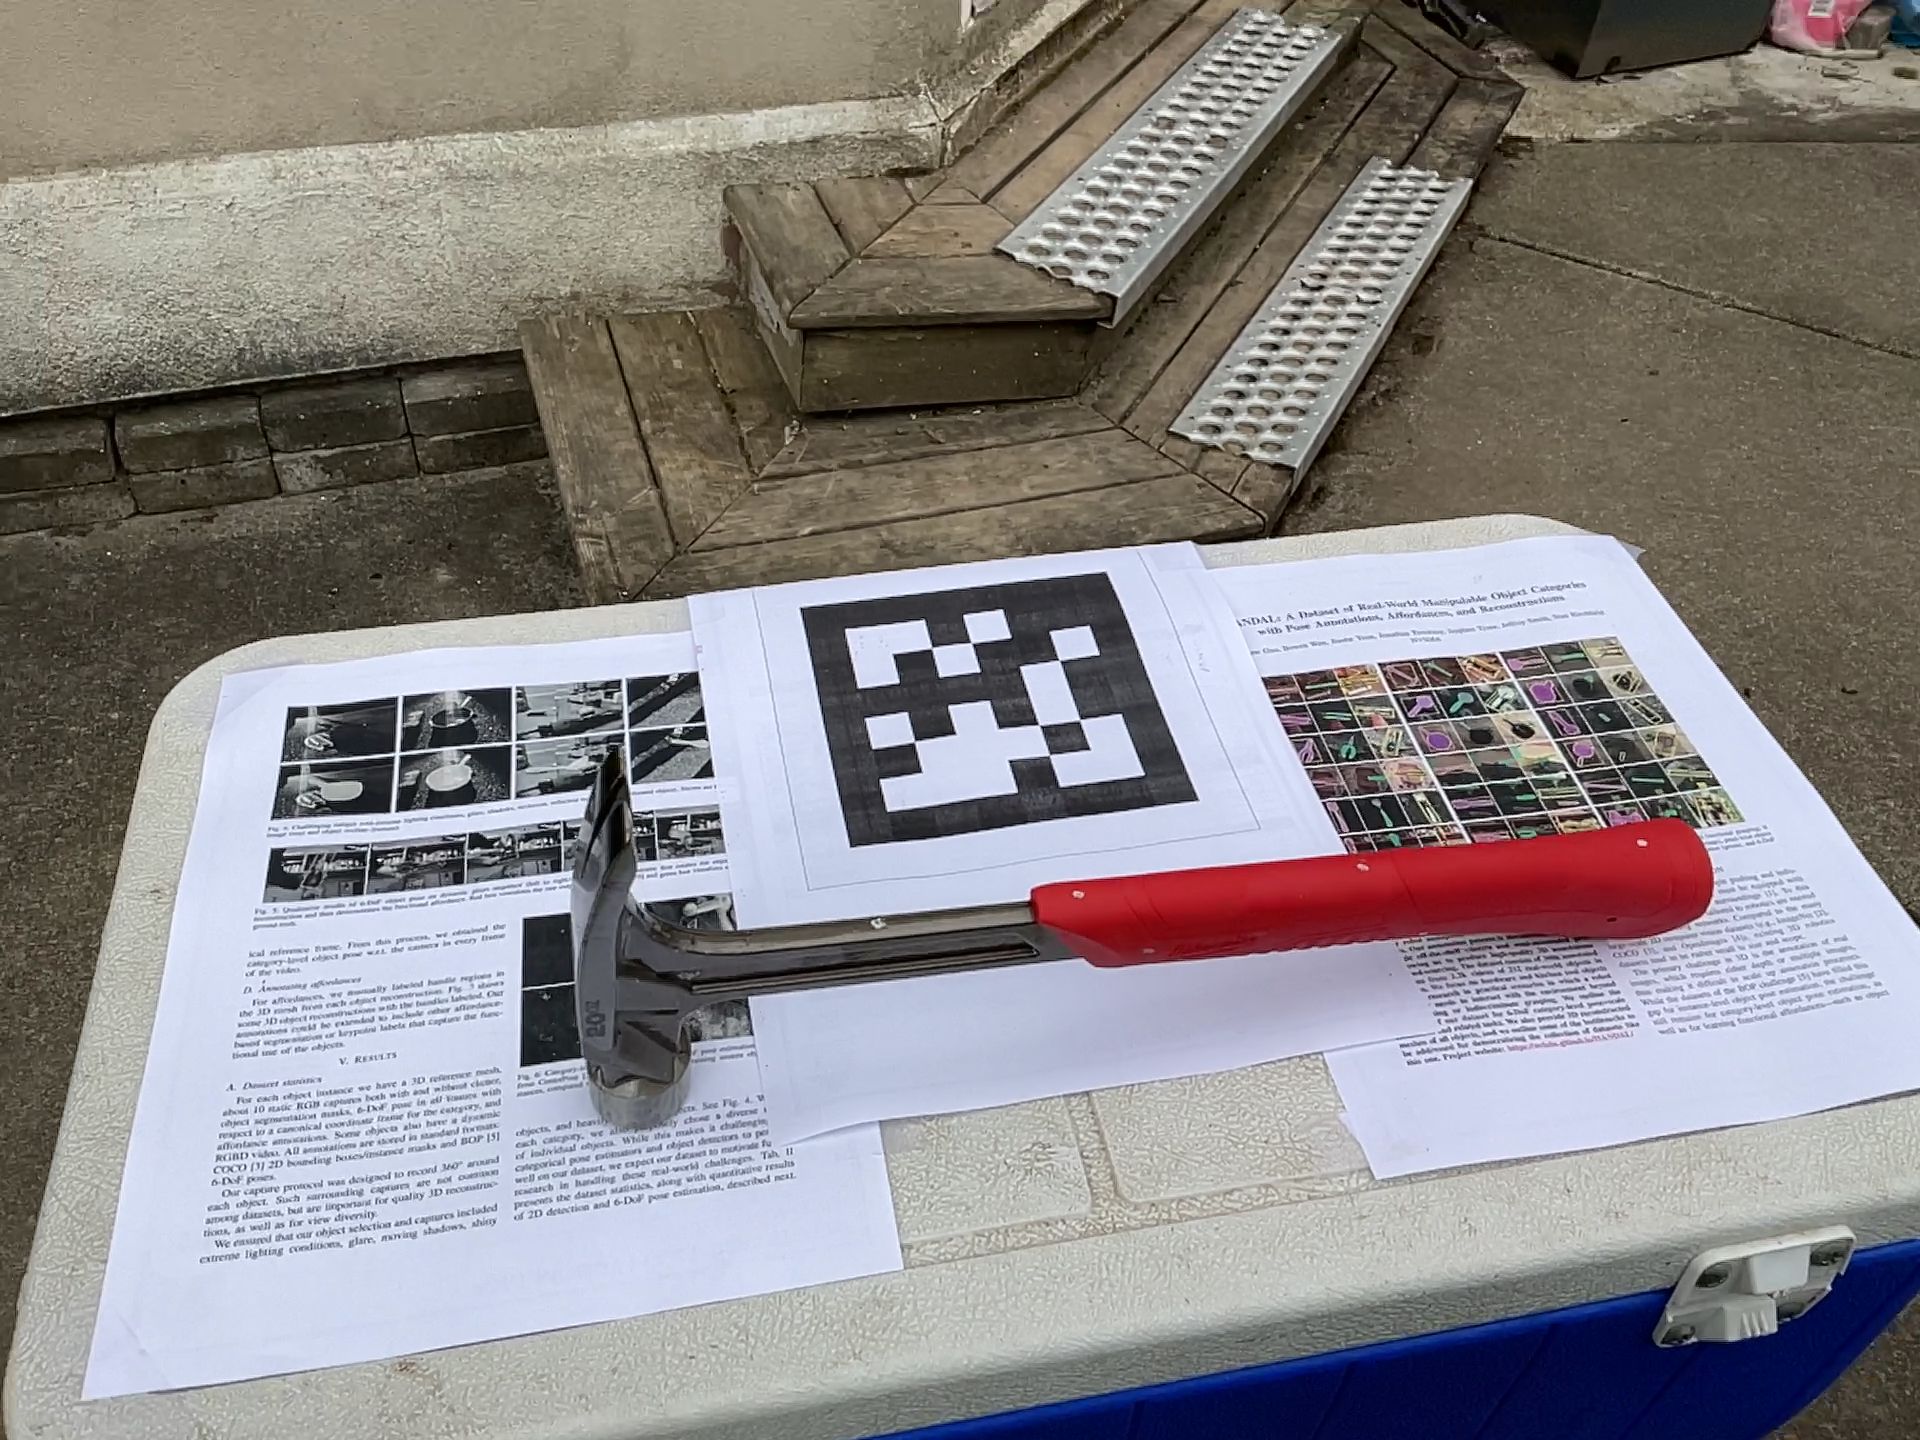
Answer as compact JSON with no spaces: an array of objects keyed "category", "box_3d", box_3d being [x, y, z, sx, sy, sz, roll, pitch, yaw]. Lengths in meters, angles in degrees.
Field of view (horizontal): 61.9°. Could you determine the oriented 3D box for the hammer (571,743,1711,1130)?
[{"category":"hammer","box_3d":[0.068,0.054,0.479,0.359,0.149,0.037,-4,50,-15]}]
